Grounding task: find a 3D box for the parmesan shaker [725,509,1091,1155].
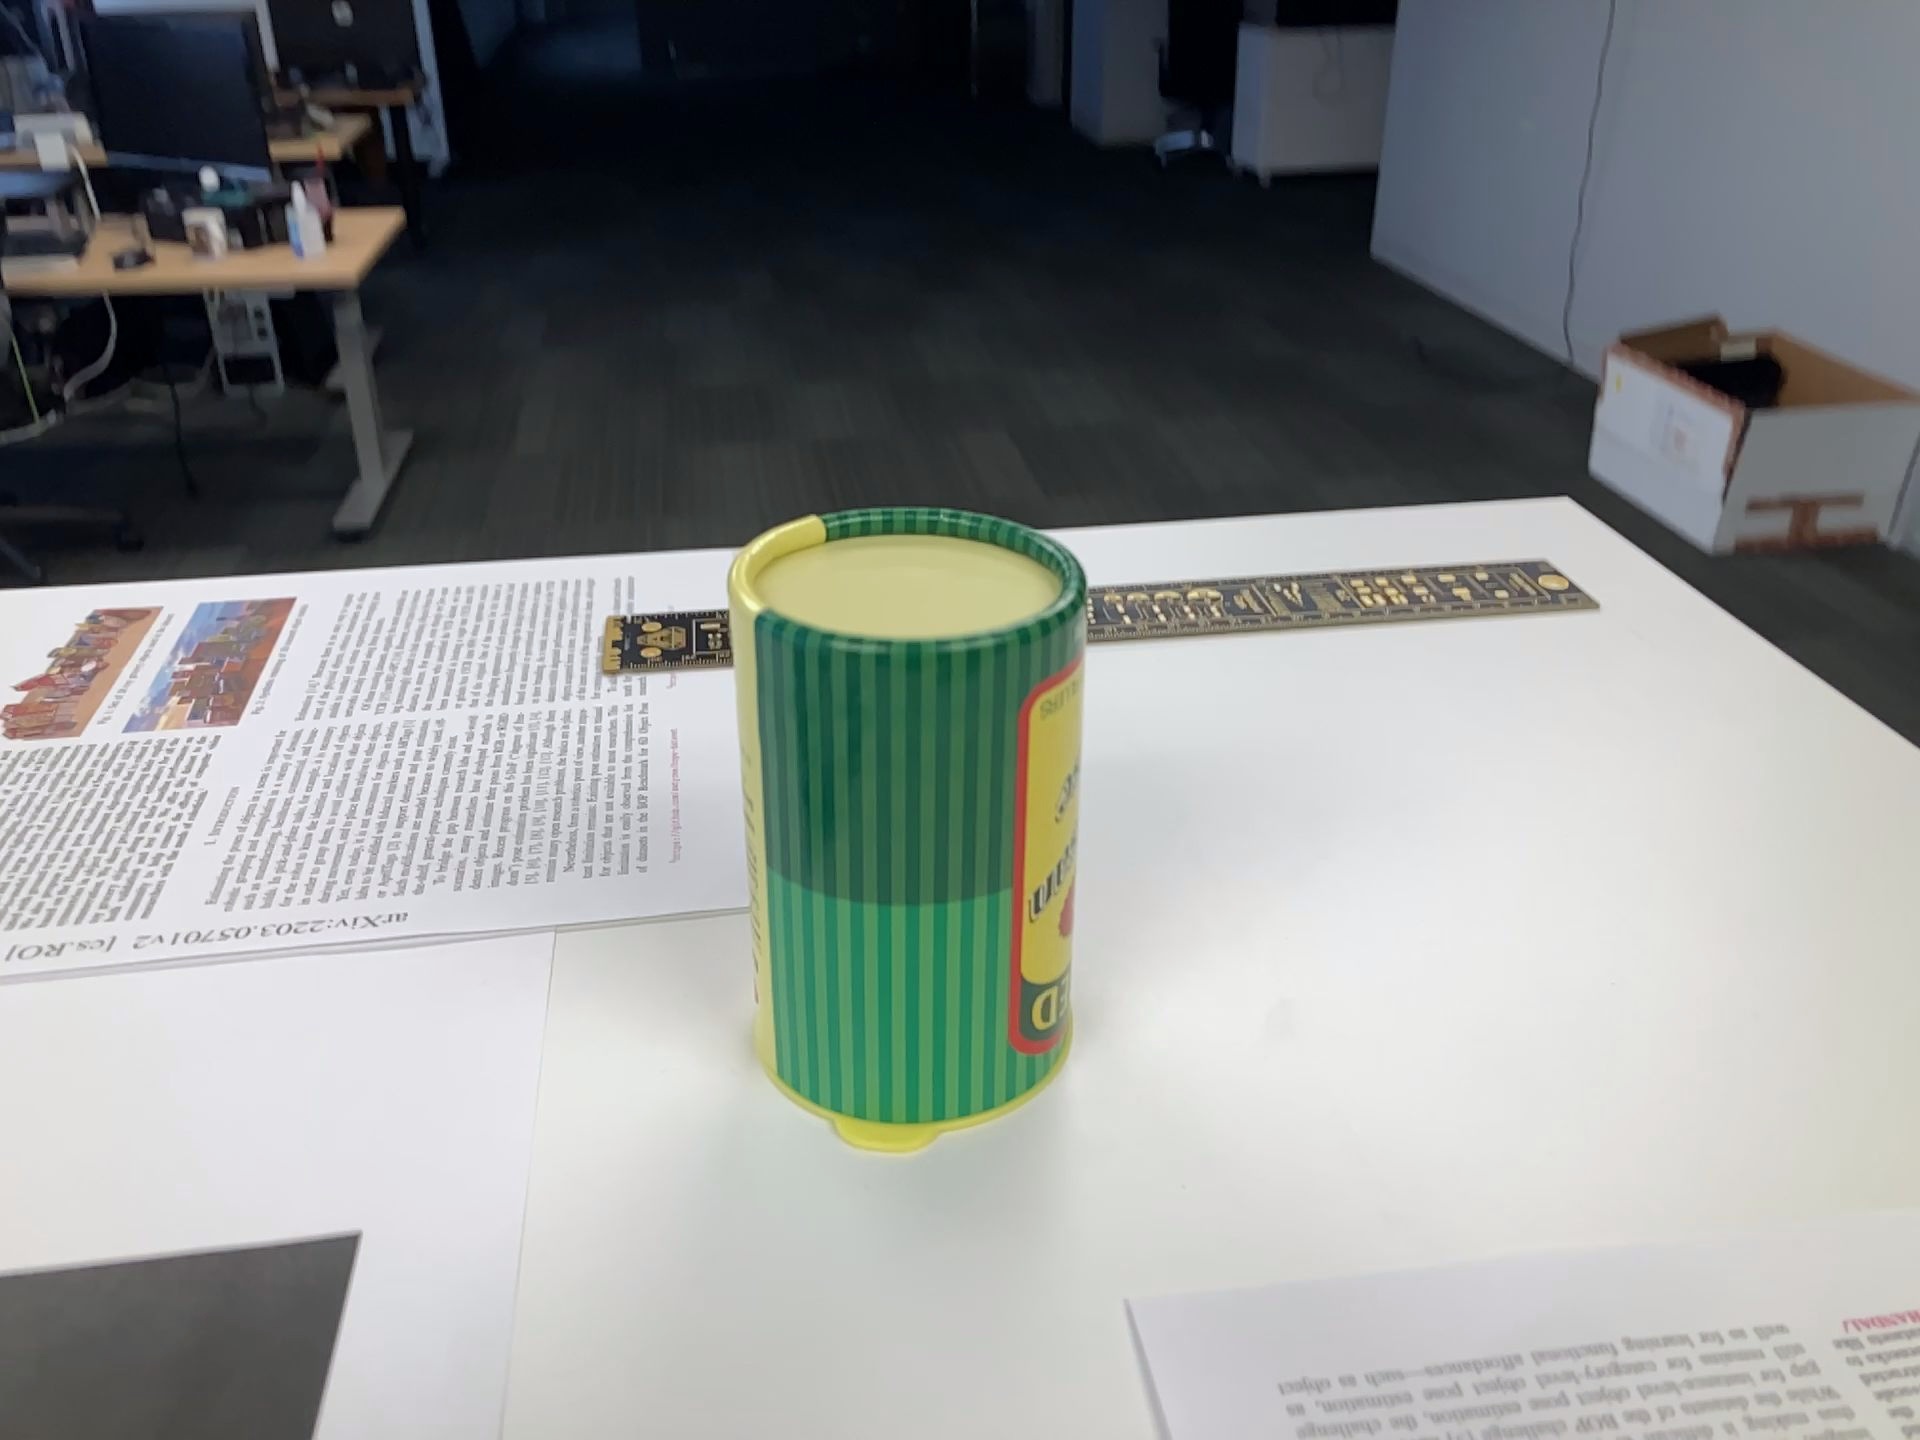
[{"bbox_3d":[-0.009,0.020,0.303,0.071,0.103,0.071,0,29,0],"label":"parmesan shaker"}]
